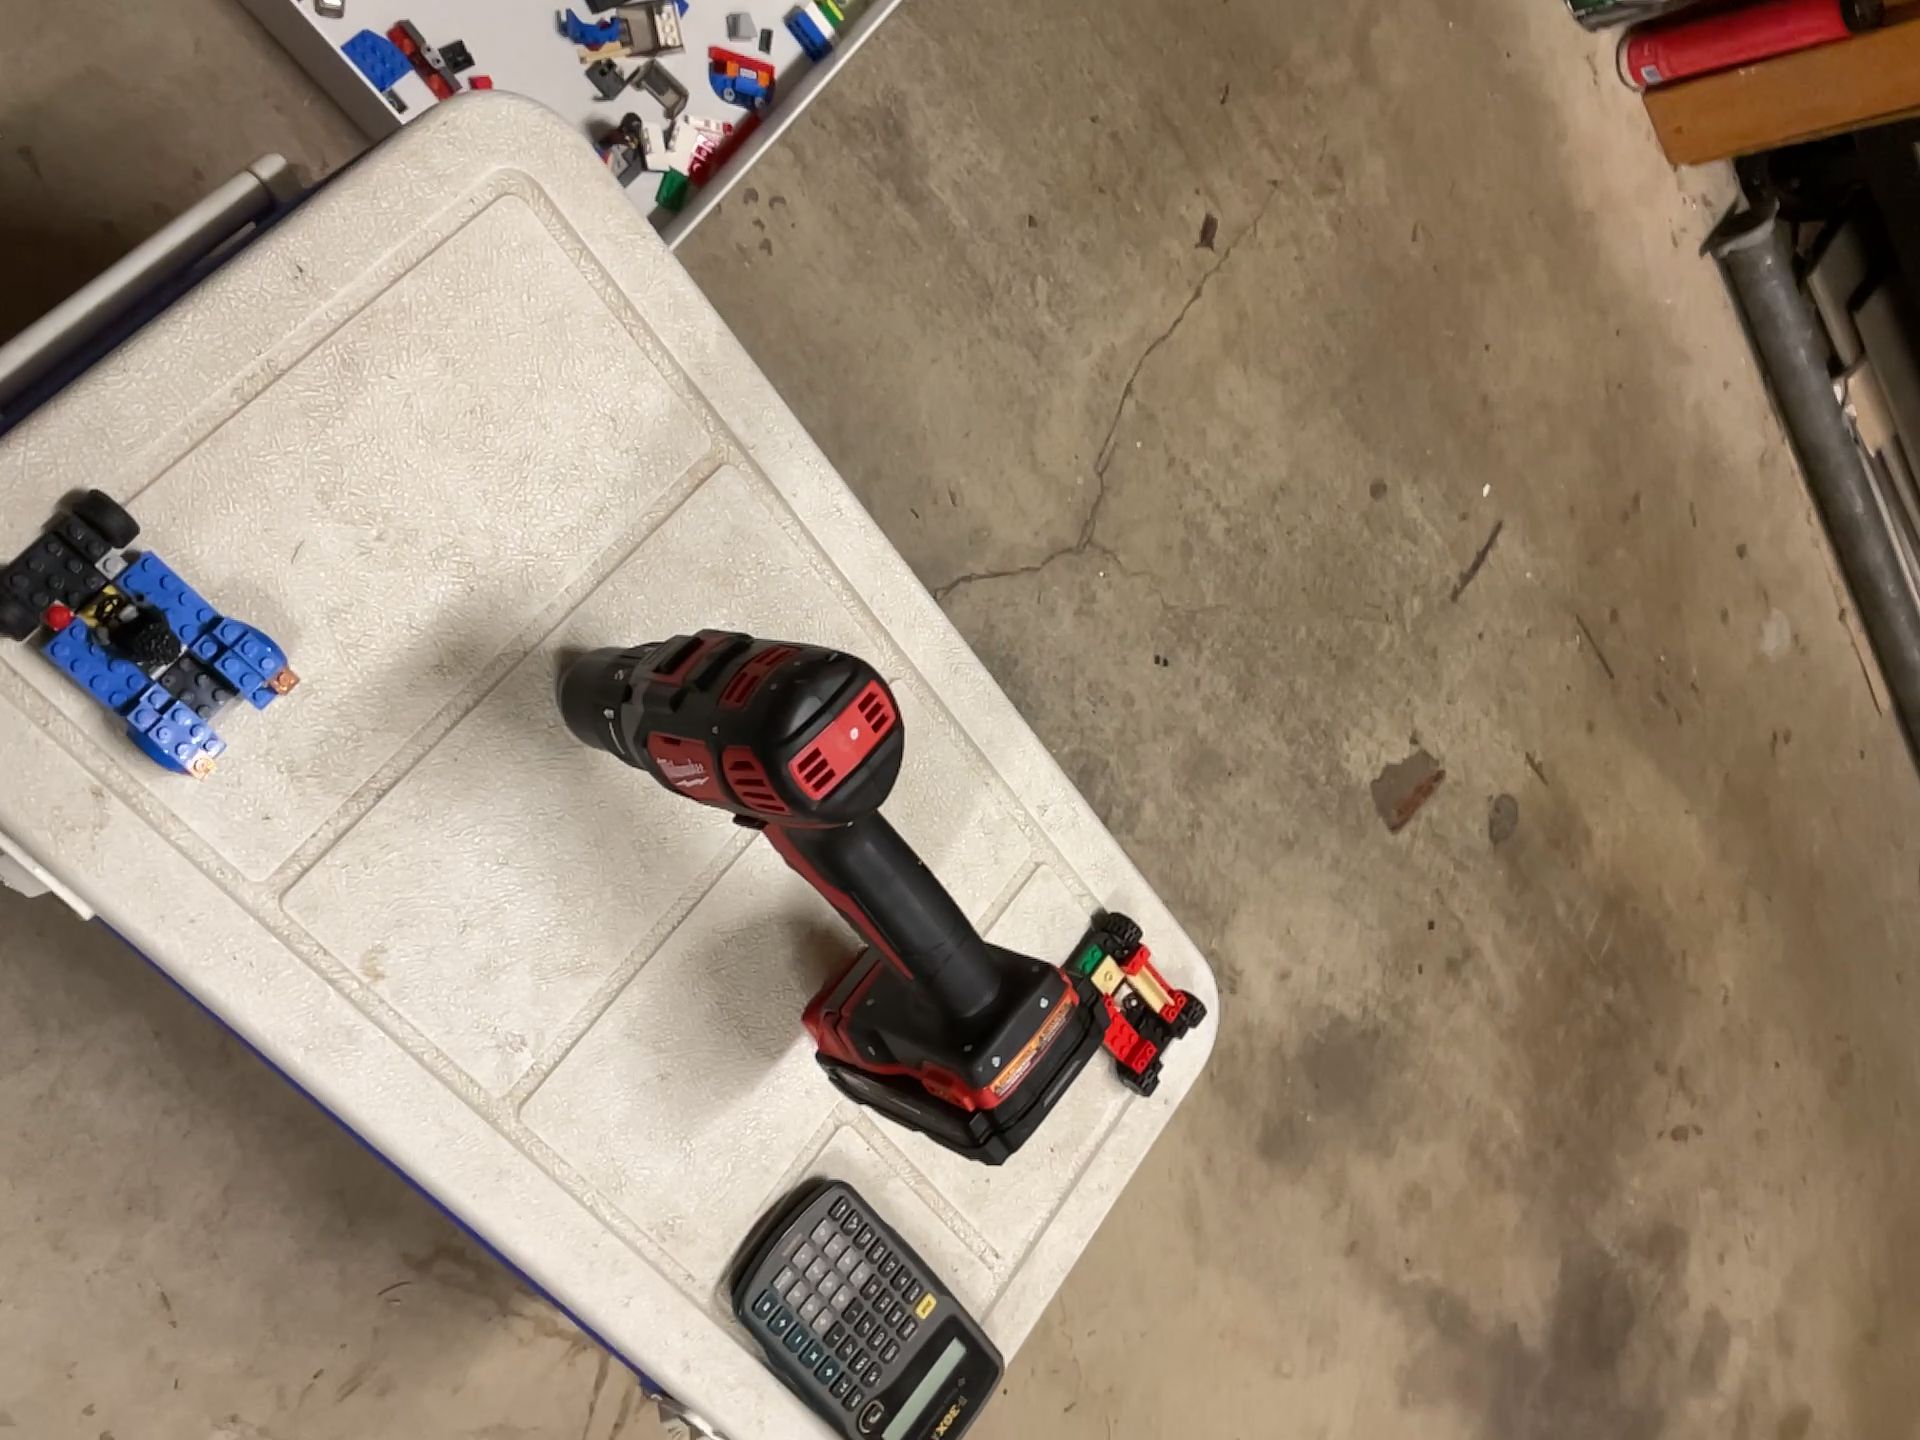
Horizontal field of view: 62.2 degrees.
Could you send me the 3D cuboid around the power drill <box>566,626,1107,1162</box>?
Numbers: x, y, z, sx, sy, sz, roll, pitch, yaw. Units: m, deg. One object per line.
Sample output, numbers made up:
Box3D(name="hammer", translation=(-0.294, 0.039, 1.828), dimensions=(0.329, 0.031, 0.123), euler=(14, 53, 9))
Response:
Box3D(name="power drill", translation=(-0.059, 0.057, 0.635), dimensions=(0.080, 0.188, 0.226), euler=(-46, 122, -24))
